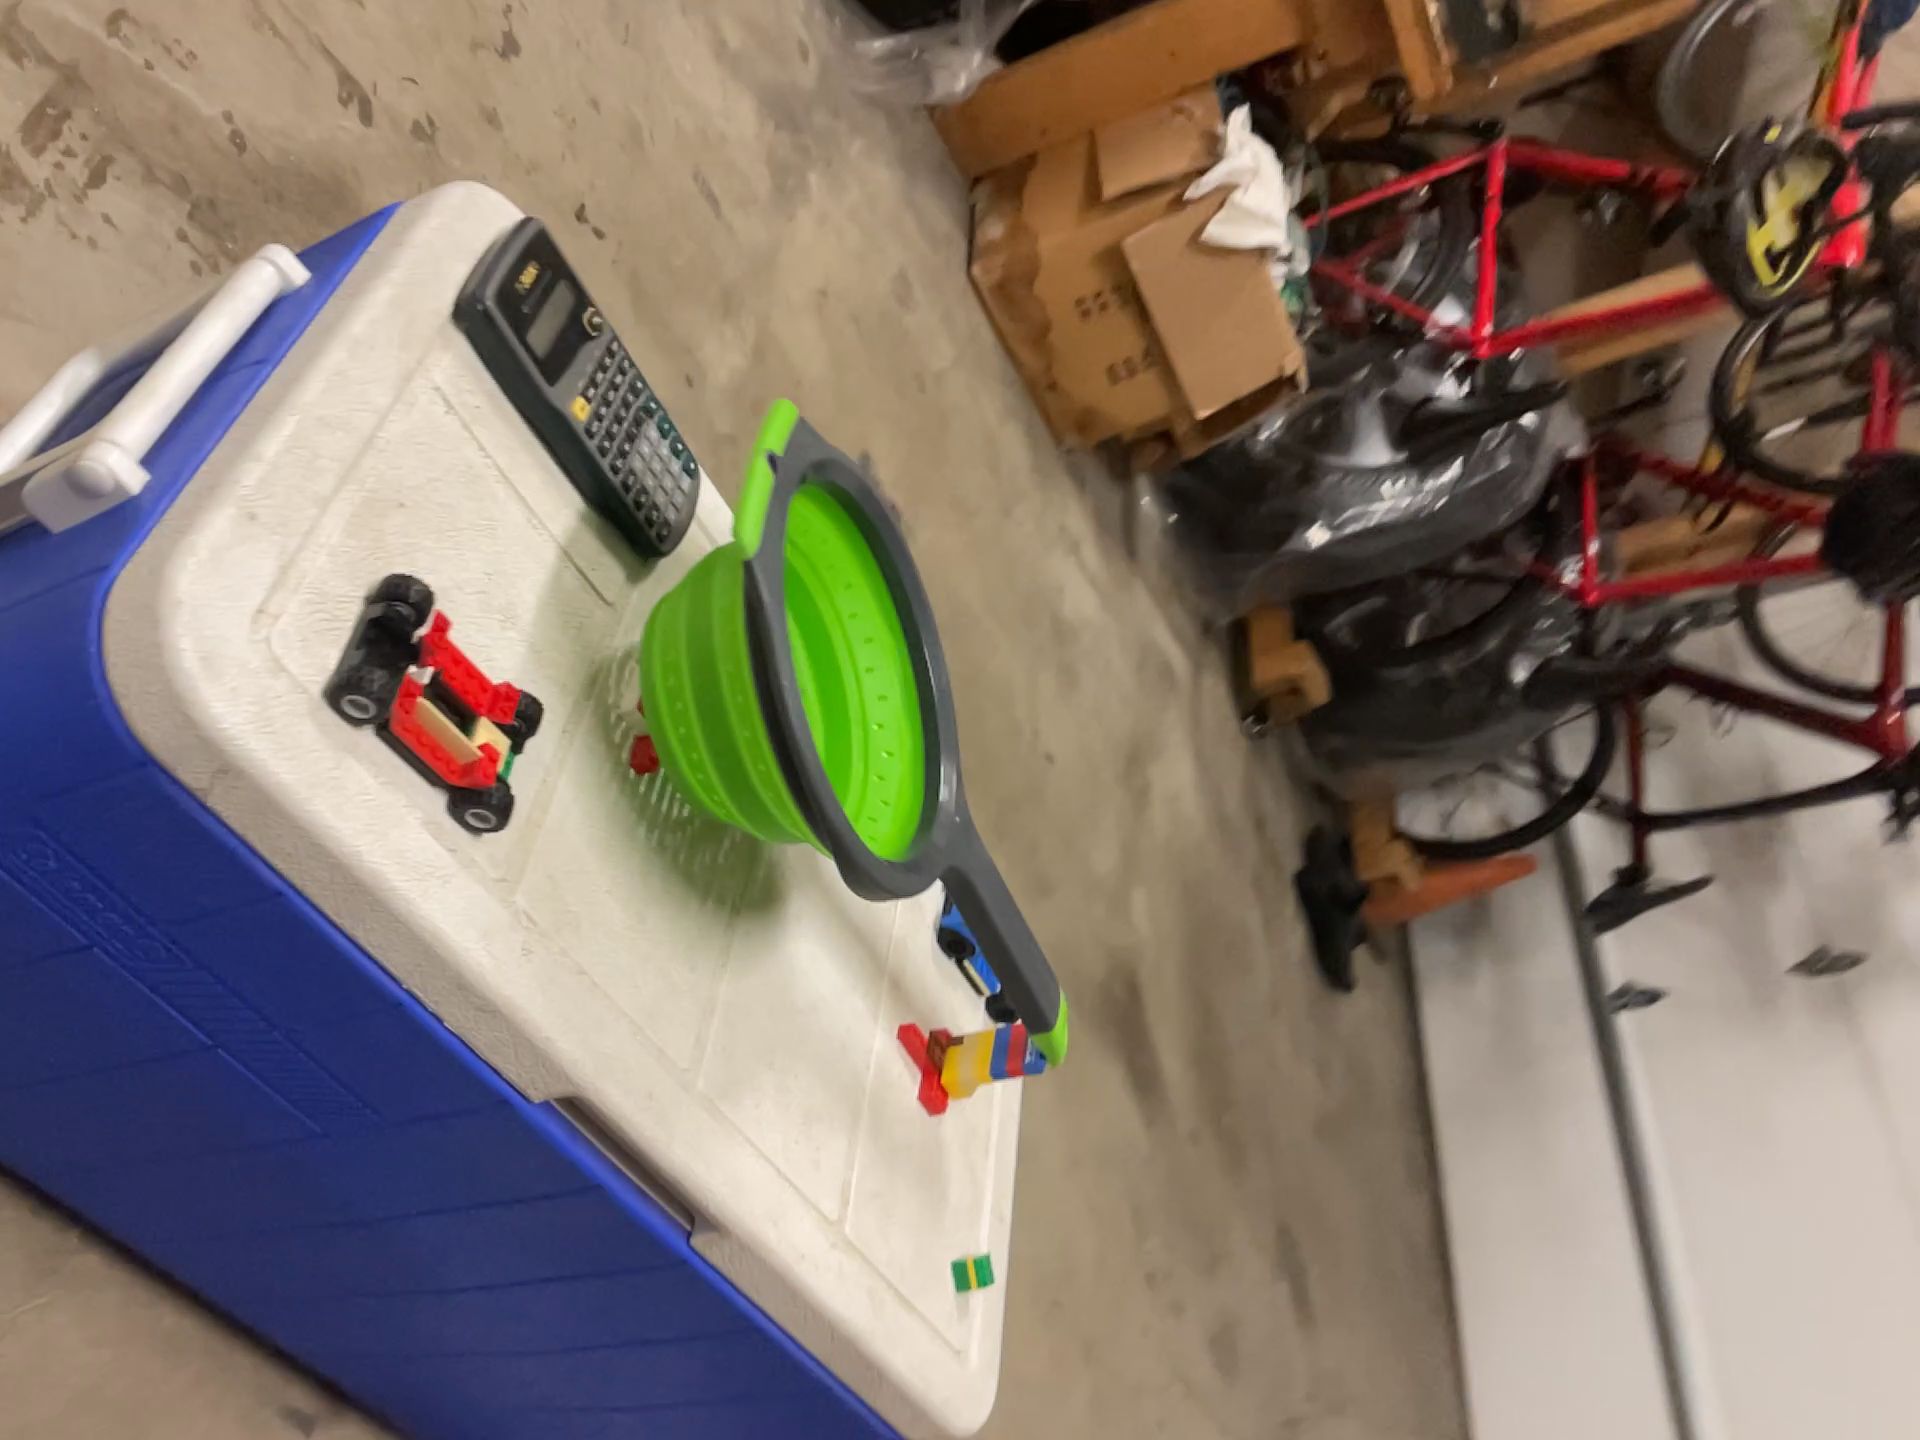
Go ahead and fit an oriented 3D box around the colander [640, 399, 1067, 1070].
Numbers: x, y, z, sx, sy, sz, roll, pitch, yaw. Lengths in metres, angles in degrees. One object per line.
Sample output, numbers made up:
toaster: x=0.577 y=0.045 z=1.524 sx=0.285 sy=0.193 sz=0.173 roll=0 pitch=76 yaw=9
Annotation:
colander: x=-0.048 y=0.045 z=0.759 sx=0.205 sy=0.094 sz=0.396 roll=-84 pitch=155 yaw=-49
